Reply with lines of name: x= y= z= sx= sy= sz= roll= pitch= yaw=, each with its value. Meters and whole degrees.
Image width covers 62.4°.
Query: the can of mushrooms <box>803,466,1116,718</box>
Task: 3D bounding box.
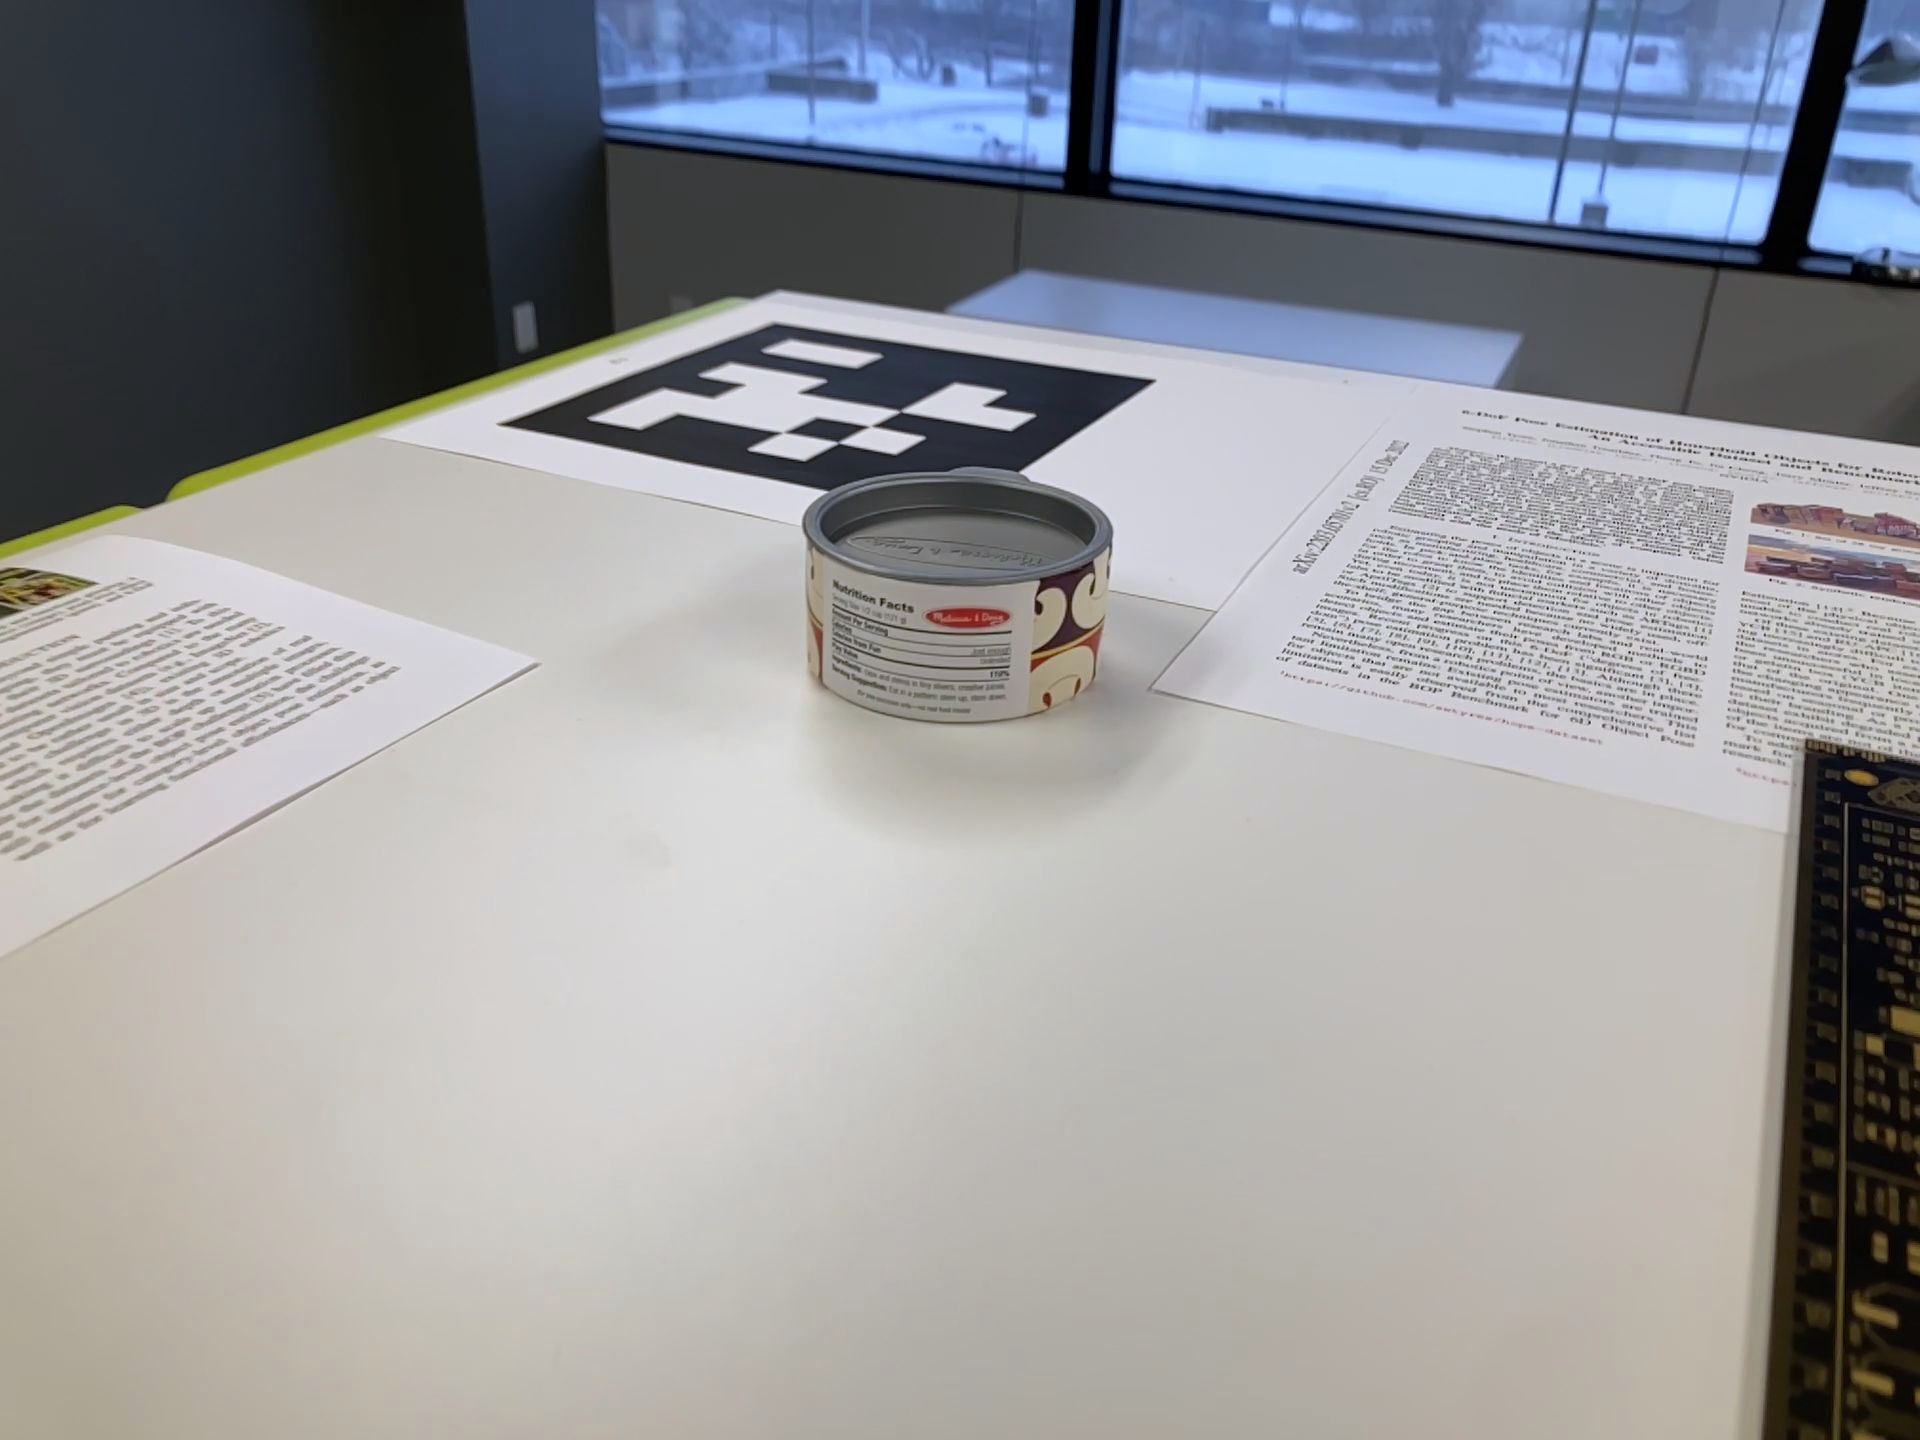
can of mushrooms: x=0.000 y=-0.030 z=0.344 sx=0.071 sy=0.033 sz=0.071 roll=1 pitch=27 yaw=0
